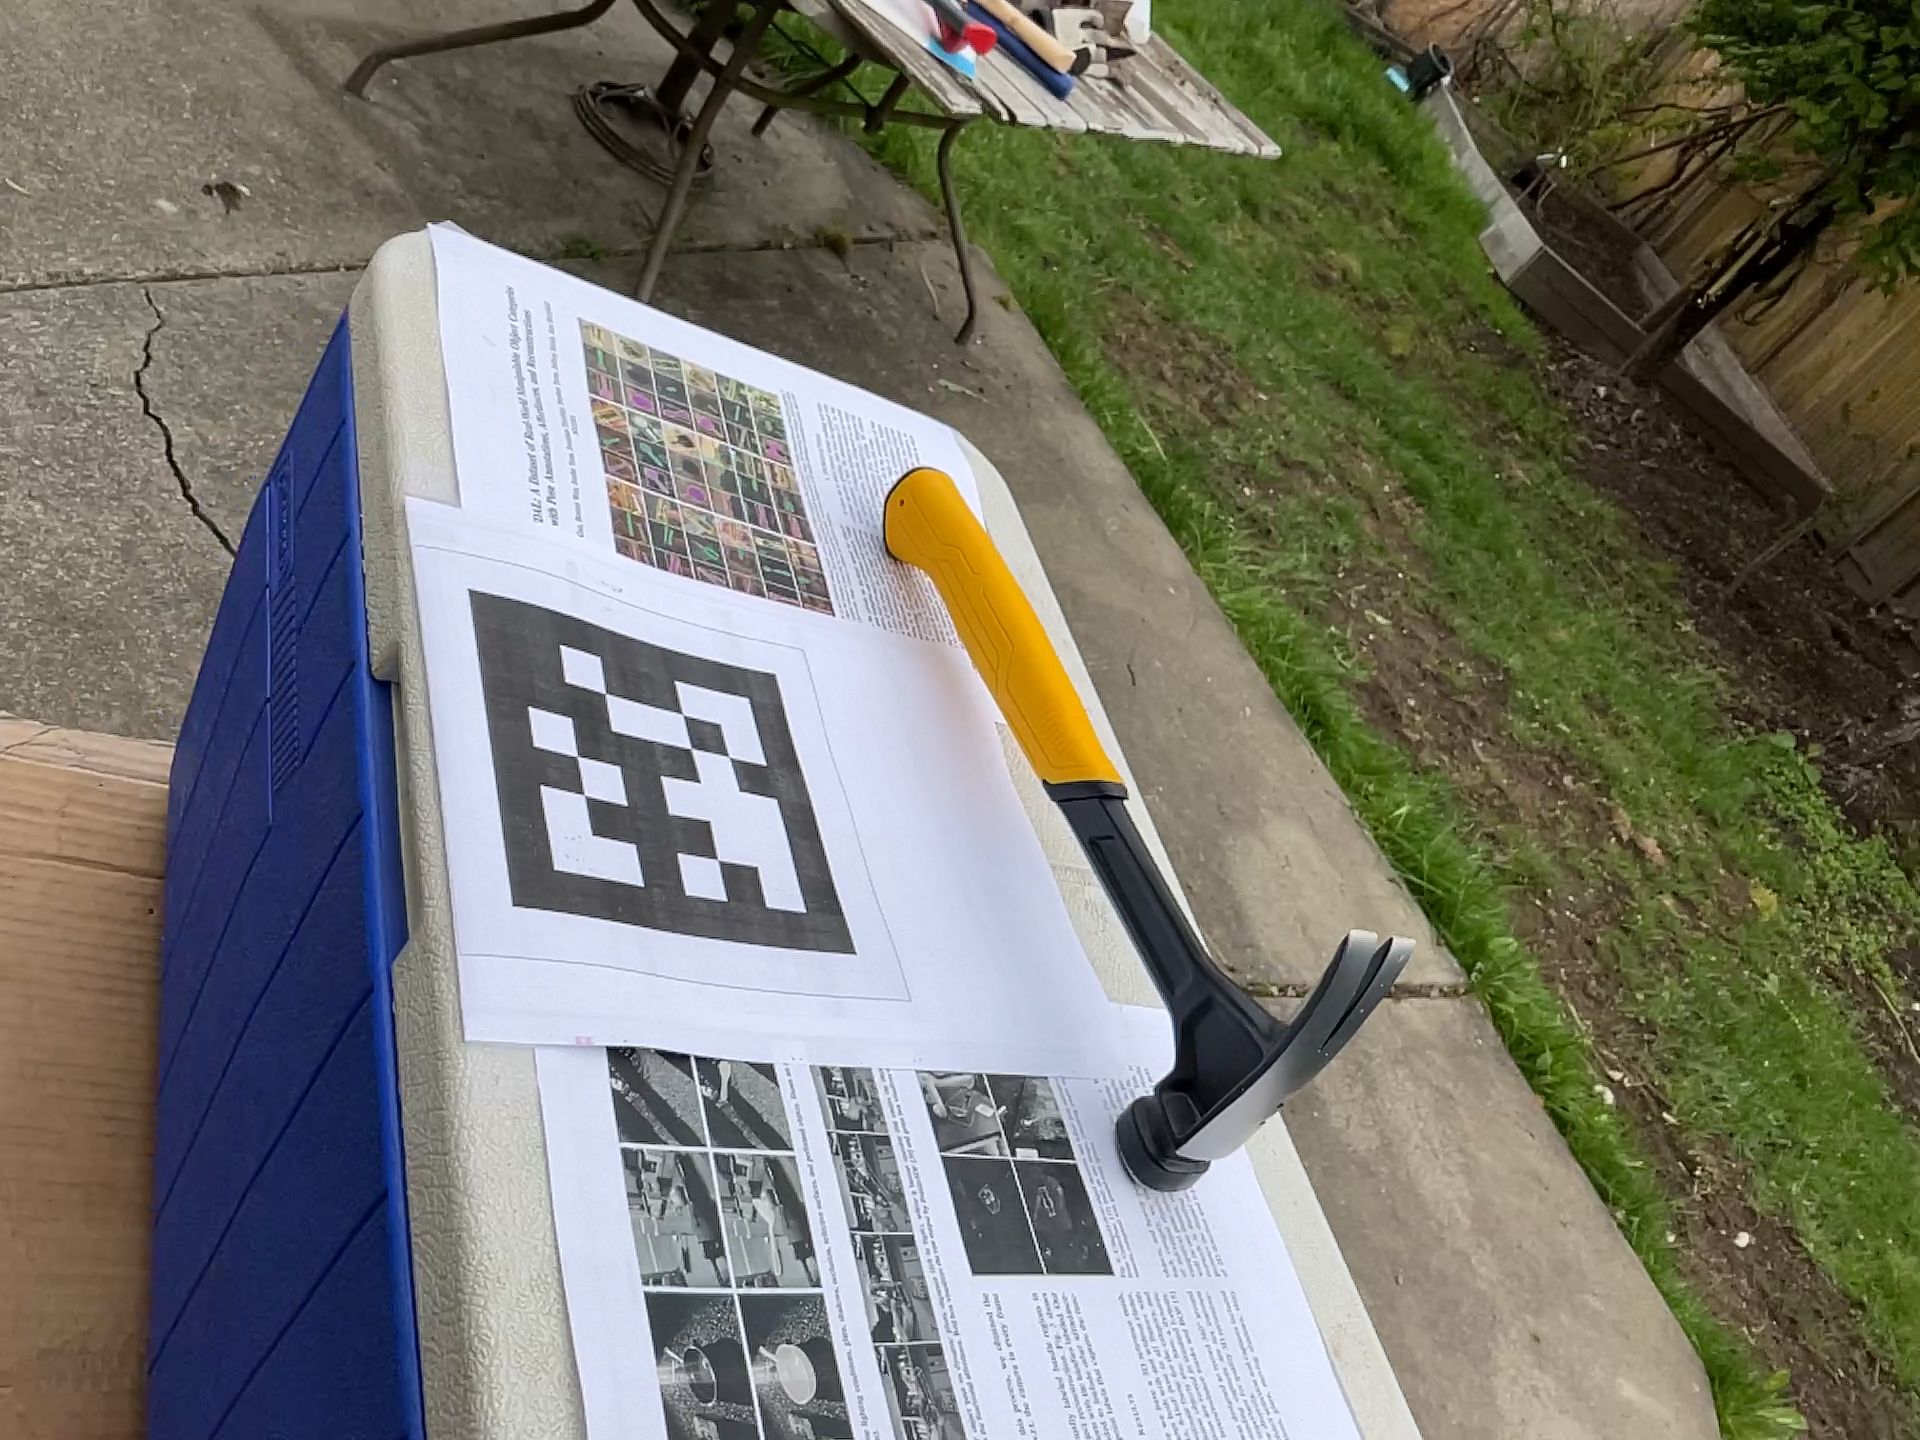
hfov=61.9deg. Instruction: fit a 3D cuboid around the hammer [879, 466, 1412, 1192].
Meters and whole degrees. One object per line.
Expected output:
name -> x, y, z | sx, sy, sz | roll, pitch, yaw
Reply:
hammer -> 0.043, 0.005, 0.628 | 0.034, 0.127, 0.337 | 12, 37, -38
